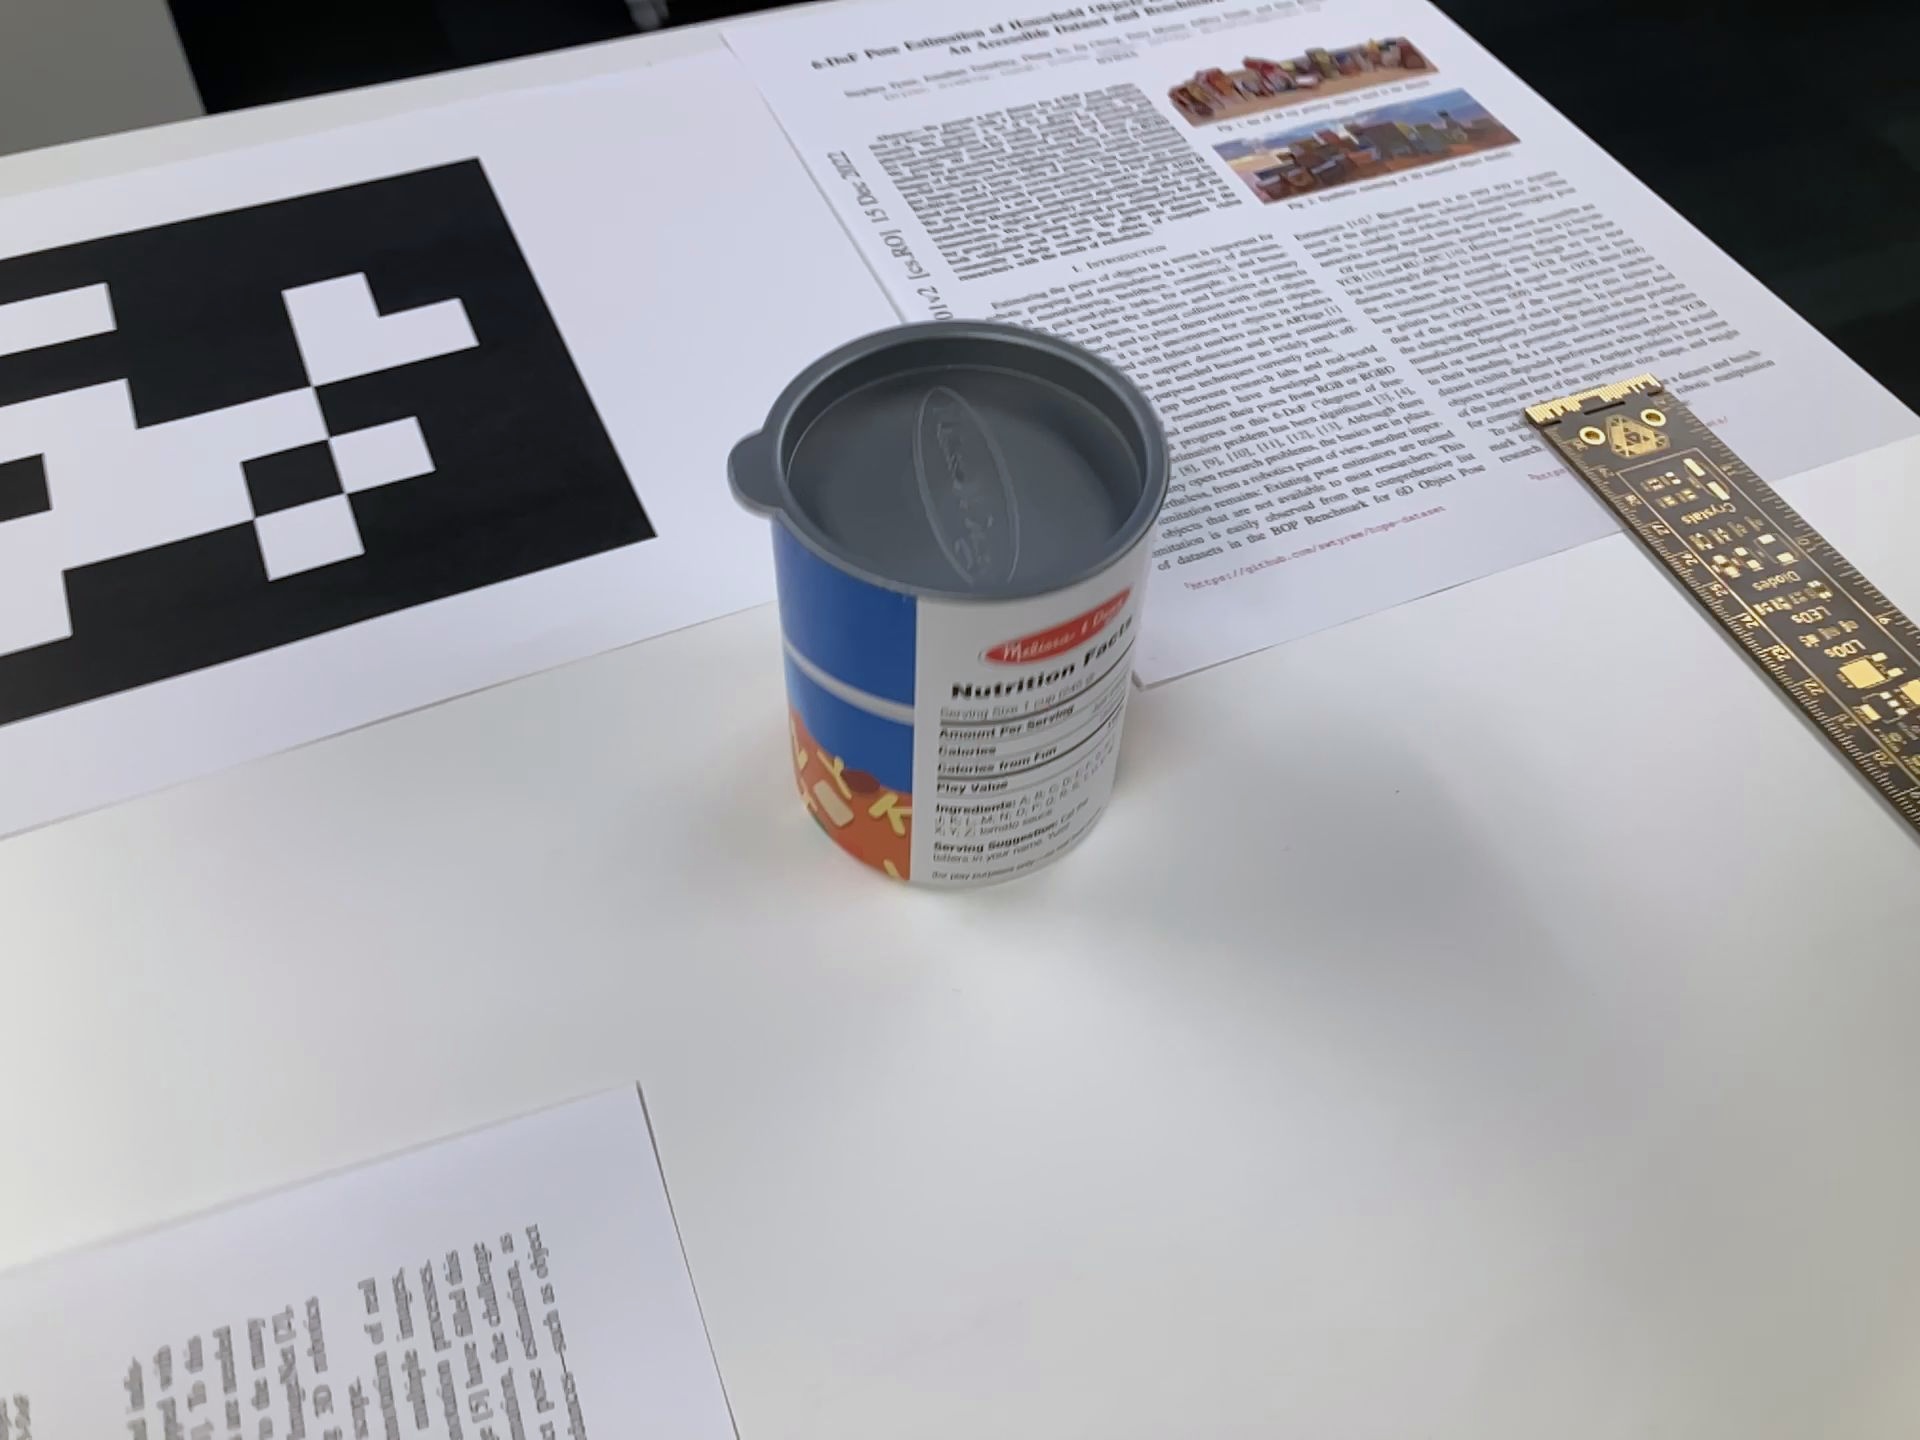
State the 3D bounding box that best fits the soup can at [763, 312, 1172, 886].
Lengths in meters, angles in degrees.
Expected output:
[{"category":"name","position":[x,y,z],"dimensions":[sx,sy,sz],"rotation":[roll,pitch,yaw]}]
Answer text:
[{"category":"soup can","position":[-0.002,-0.021,0.291],"dimensions":[0.071,0.084,0.071],"rotation":[1,52,-2]}]
